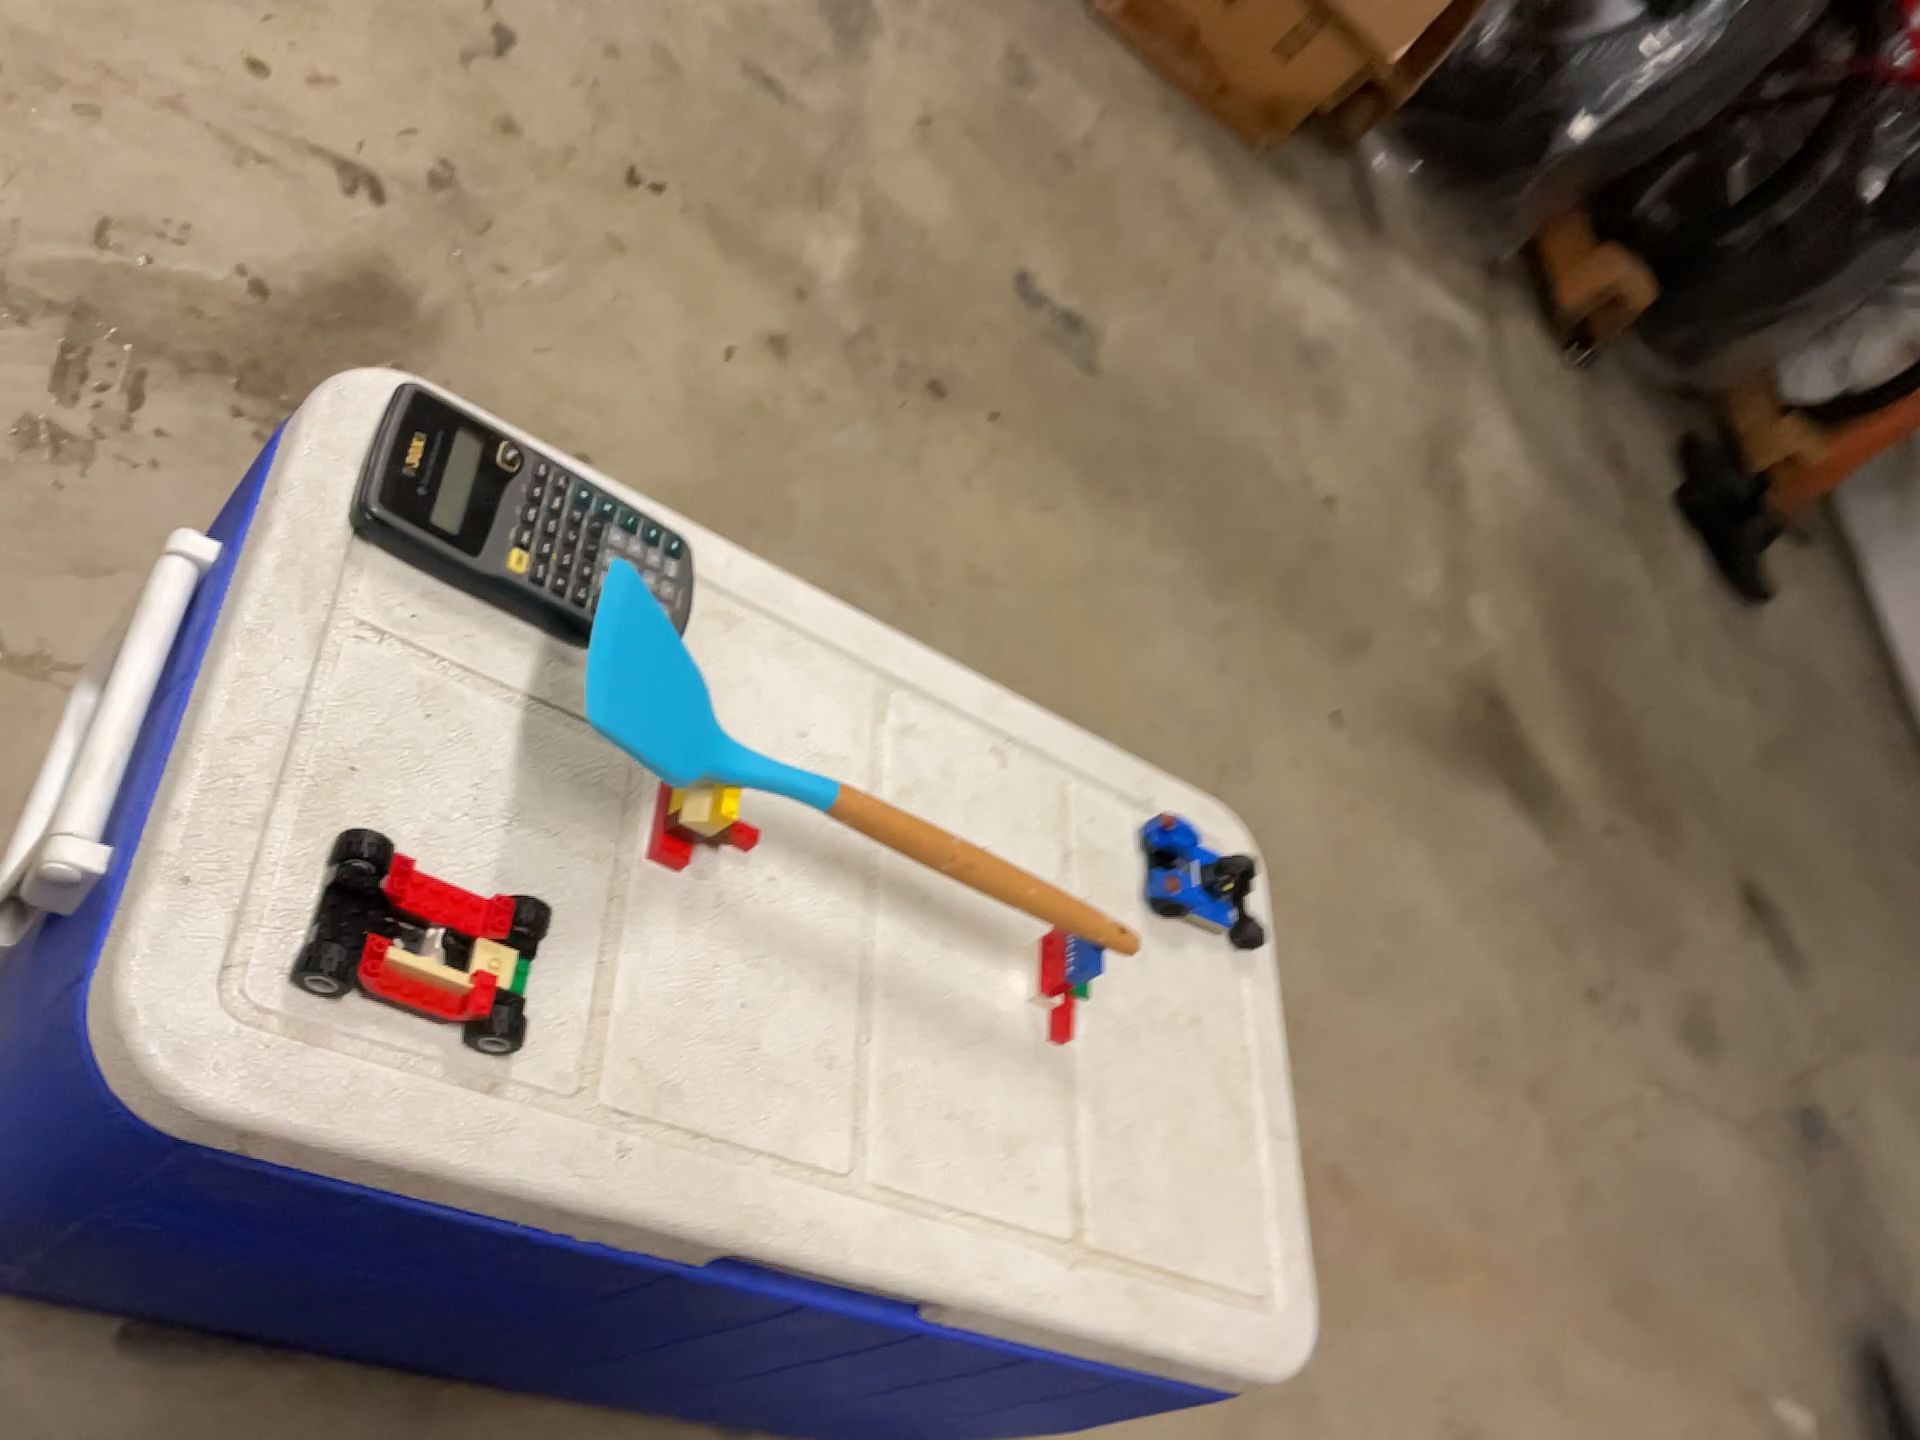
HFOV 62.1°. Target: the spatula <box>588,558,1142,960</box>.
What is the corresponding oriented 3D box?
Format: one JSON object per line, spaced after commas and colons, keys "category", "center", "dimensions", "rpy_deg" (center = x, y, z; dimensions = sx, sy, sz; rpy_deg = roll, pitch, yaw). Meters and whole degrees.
{"category": "spatula", "center": [-0.029, 0.041, 0.686], "dimensions": [0.317, 0.044, 0.083], "rpy_deg": [29, 44, -31]}
